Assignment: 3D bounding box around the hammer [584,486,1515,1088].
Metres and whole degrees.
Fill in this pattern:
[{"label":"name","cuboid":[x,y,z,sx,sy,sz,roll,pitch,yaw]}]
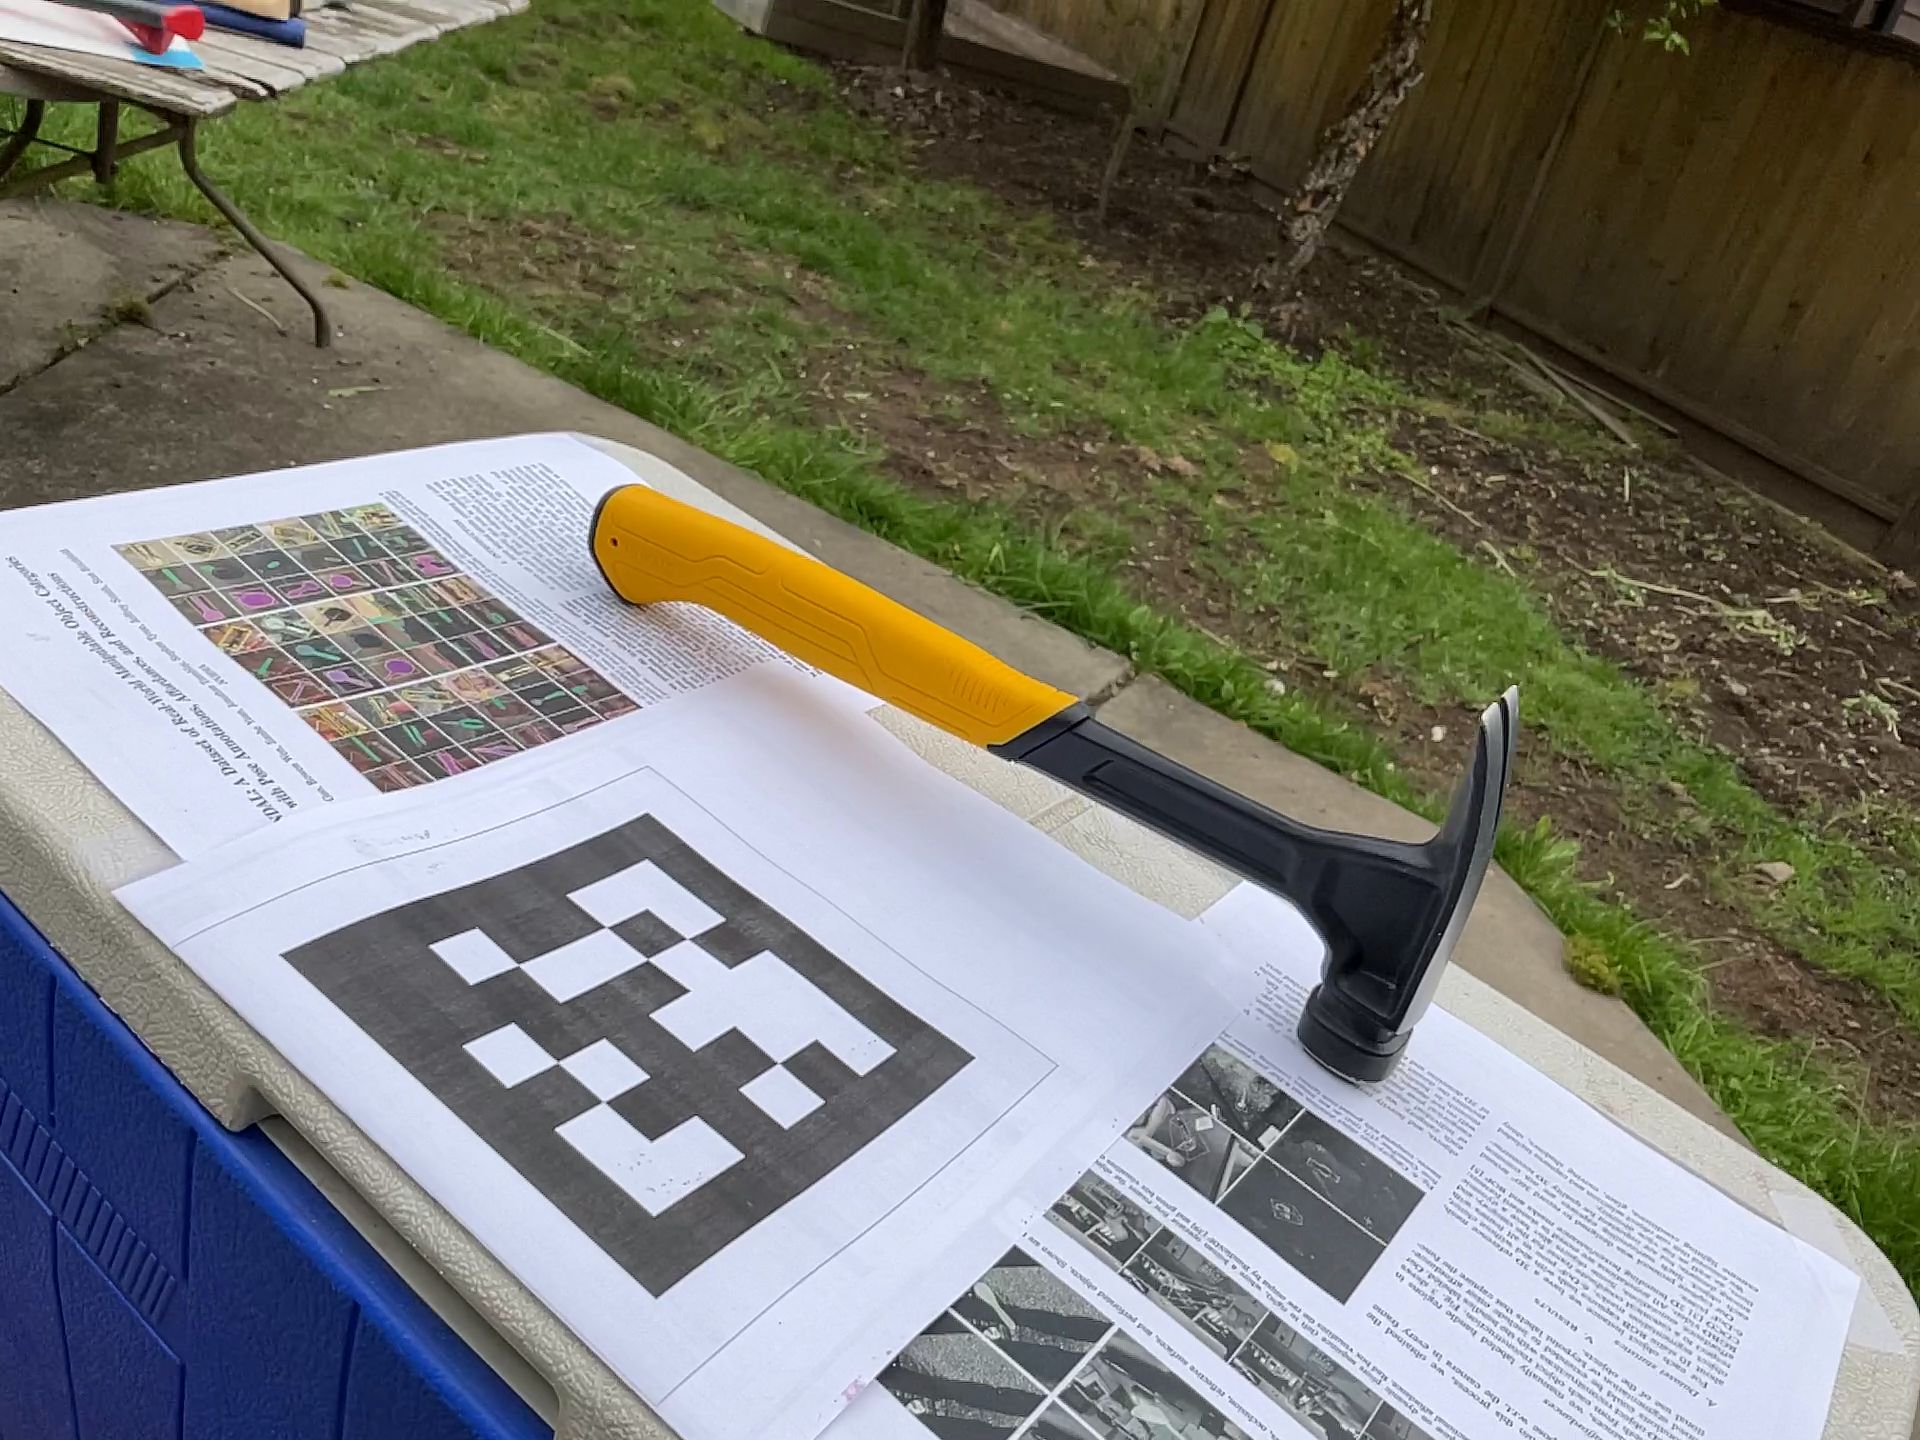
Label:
[{"label":"hammer","cuboid":[0.007,-0.012,0.528,0.337,0.127,0.034,26,29,24]}]
